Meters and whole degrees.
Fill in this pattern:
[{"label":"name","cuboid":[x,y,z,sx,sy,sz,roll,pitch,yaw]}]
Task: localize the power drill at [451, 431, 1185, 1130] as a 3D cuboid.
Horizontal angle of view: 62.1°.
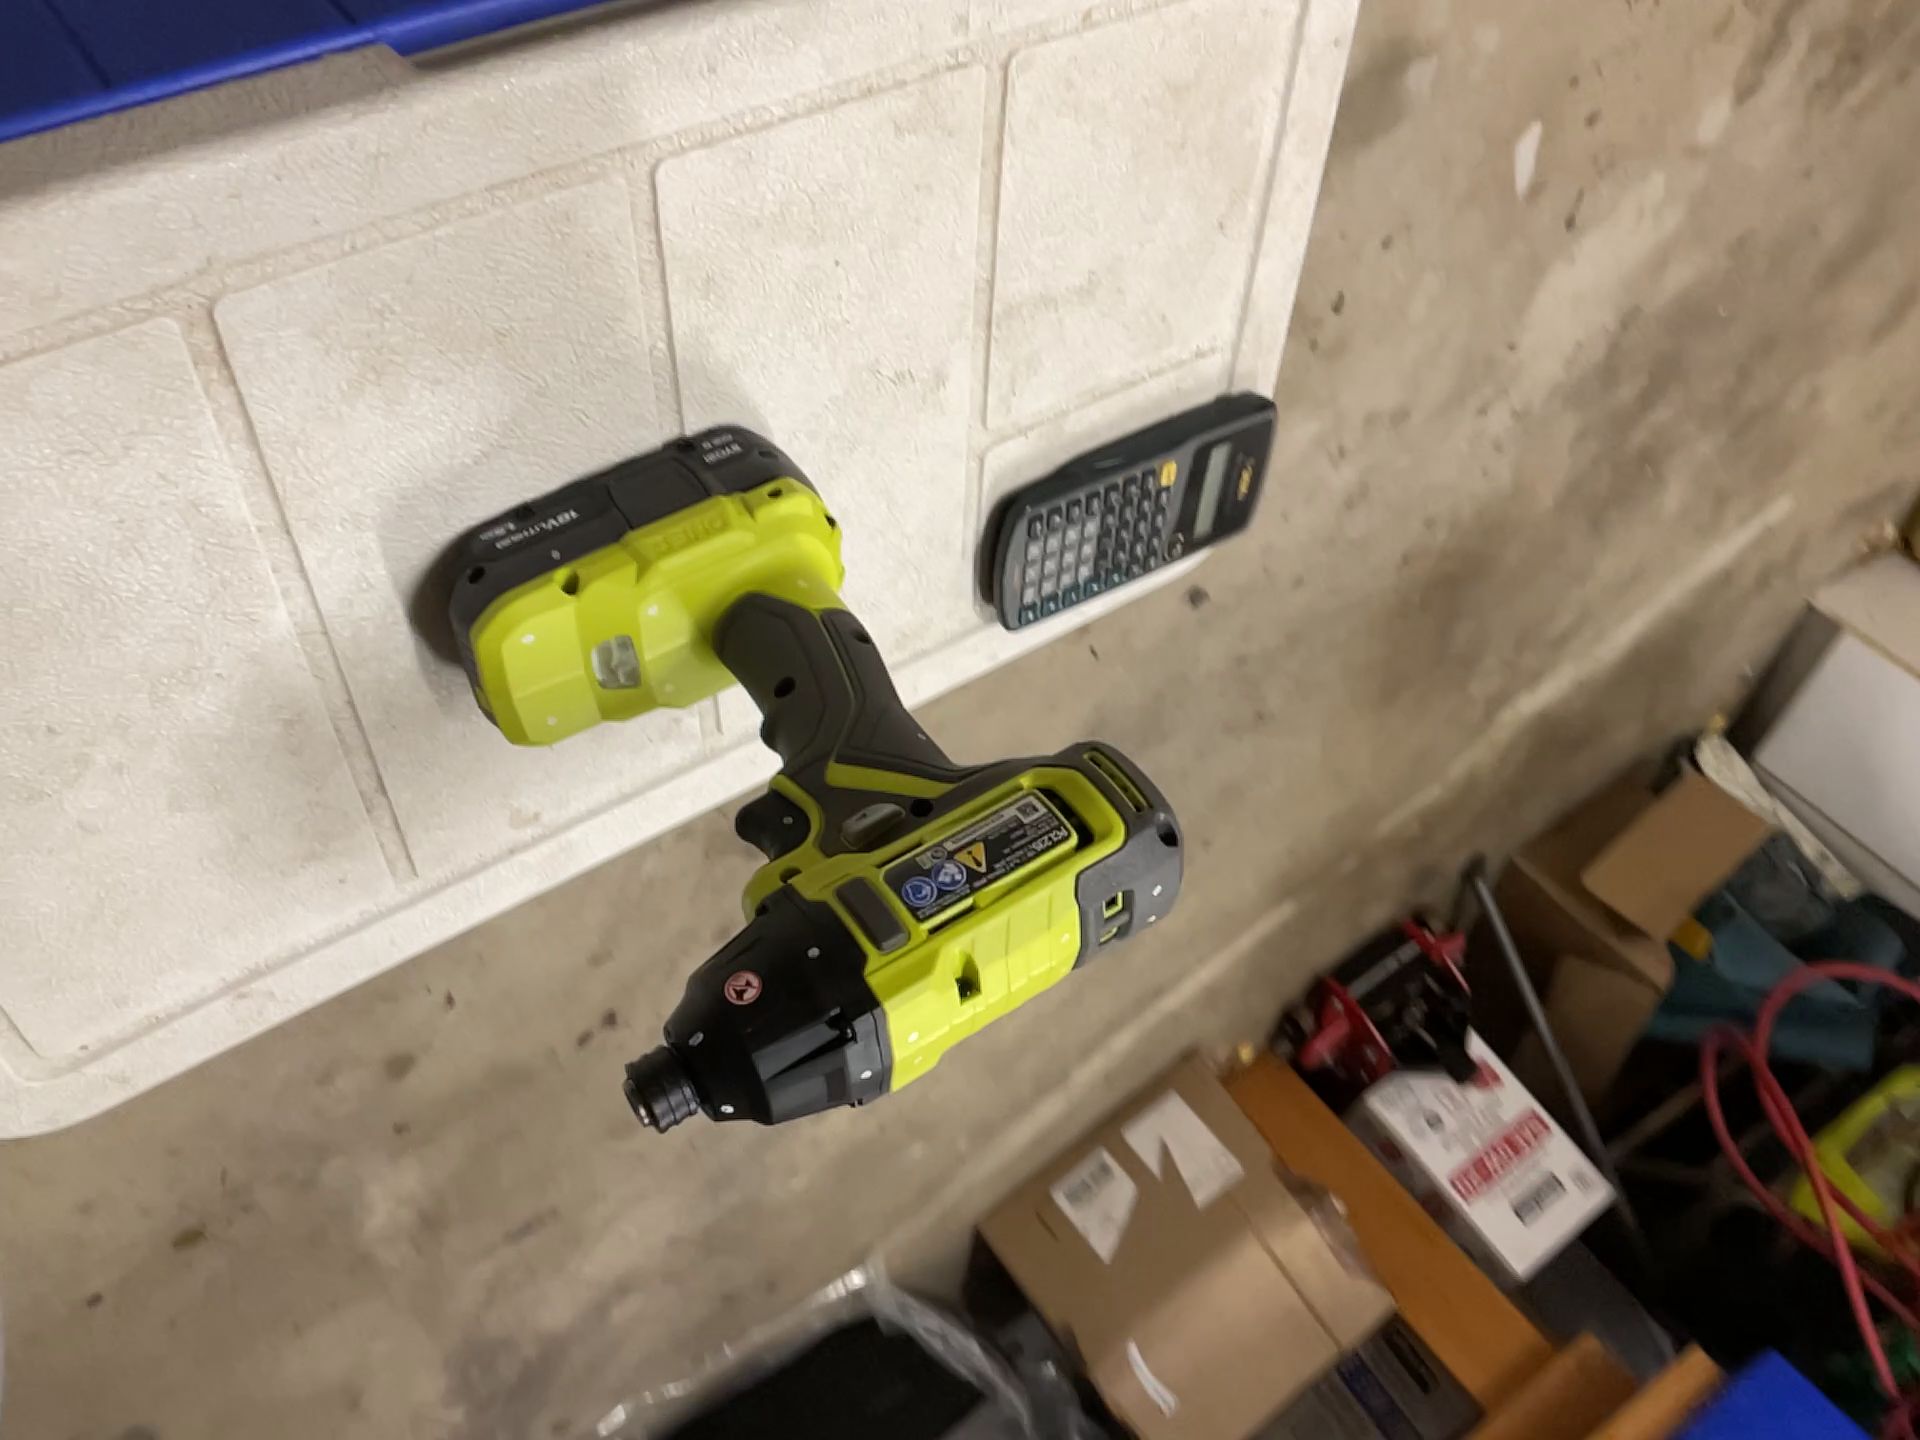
[{"label":"power drill","cuboid":[-0.063,0.014,0.505,0.171,0.223,0.080,-27,144,-22]}]
